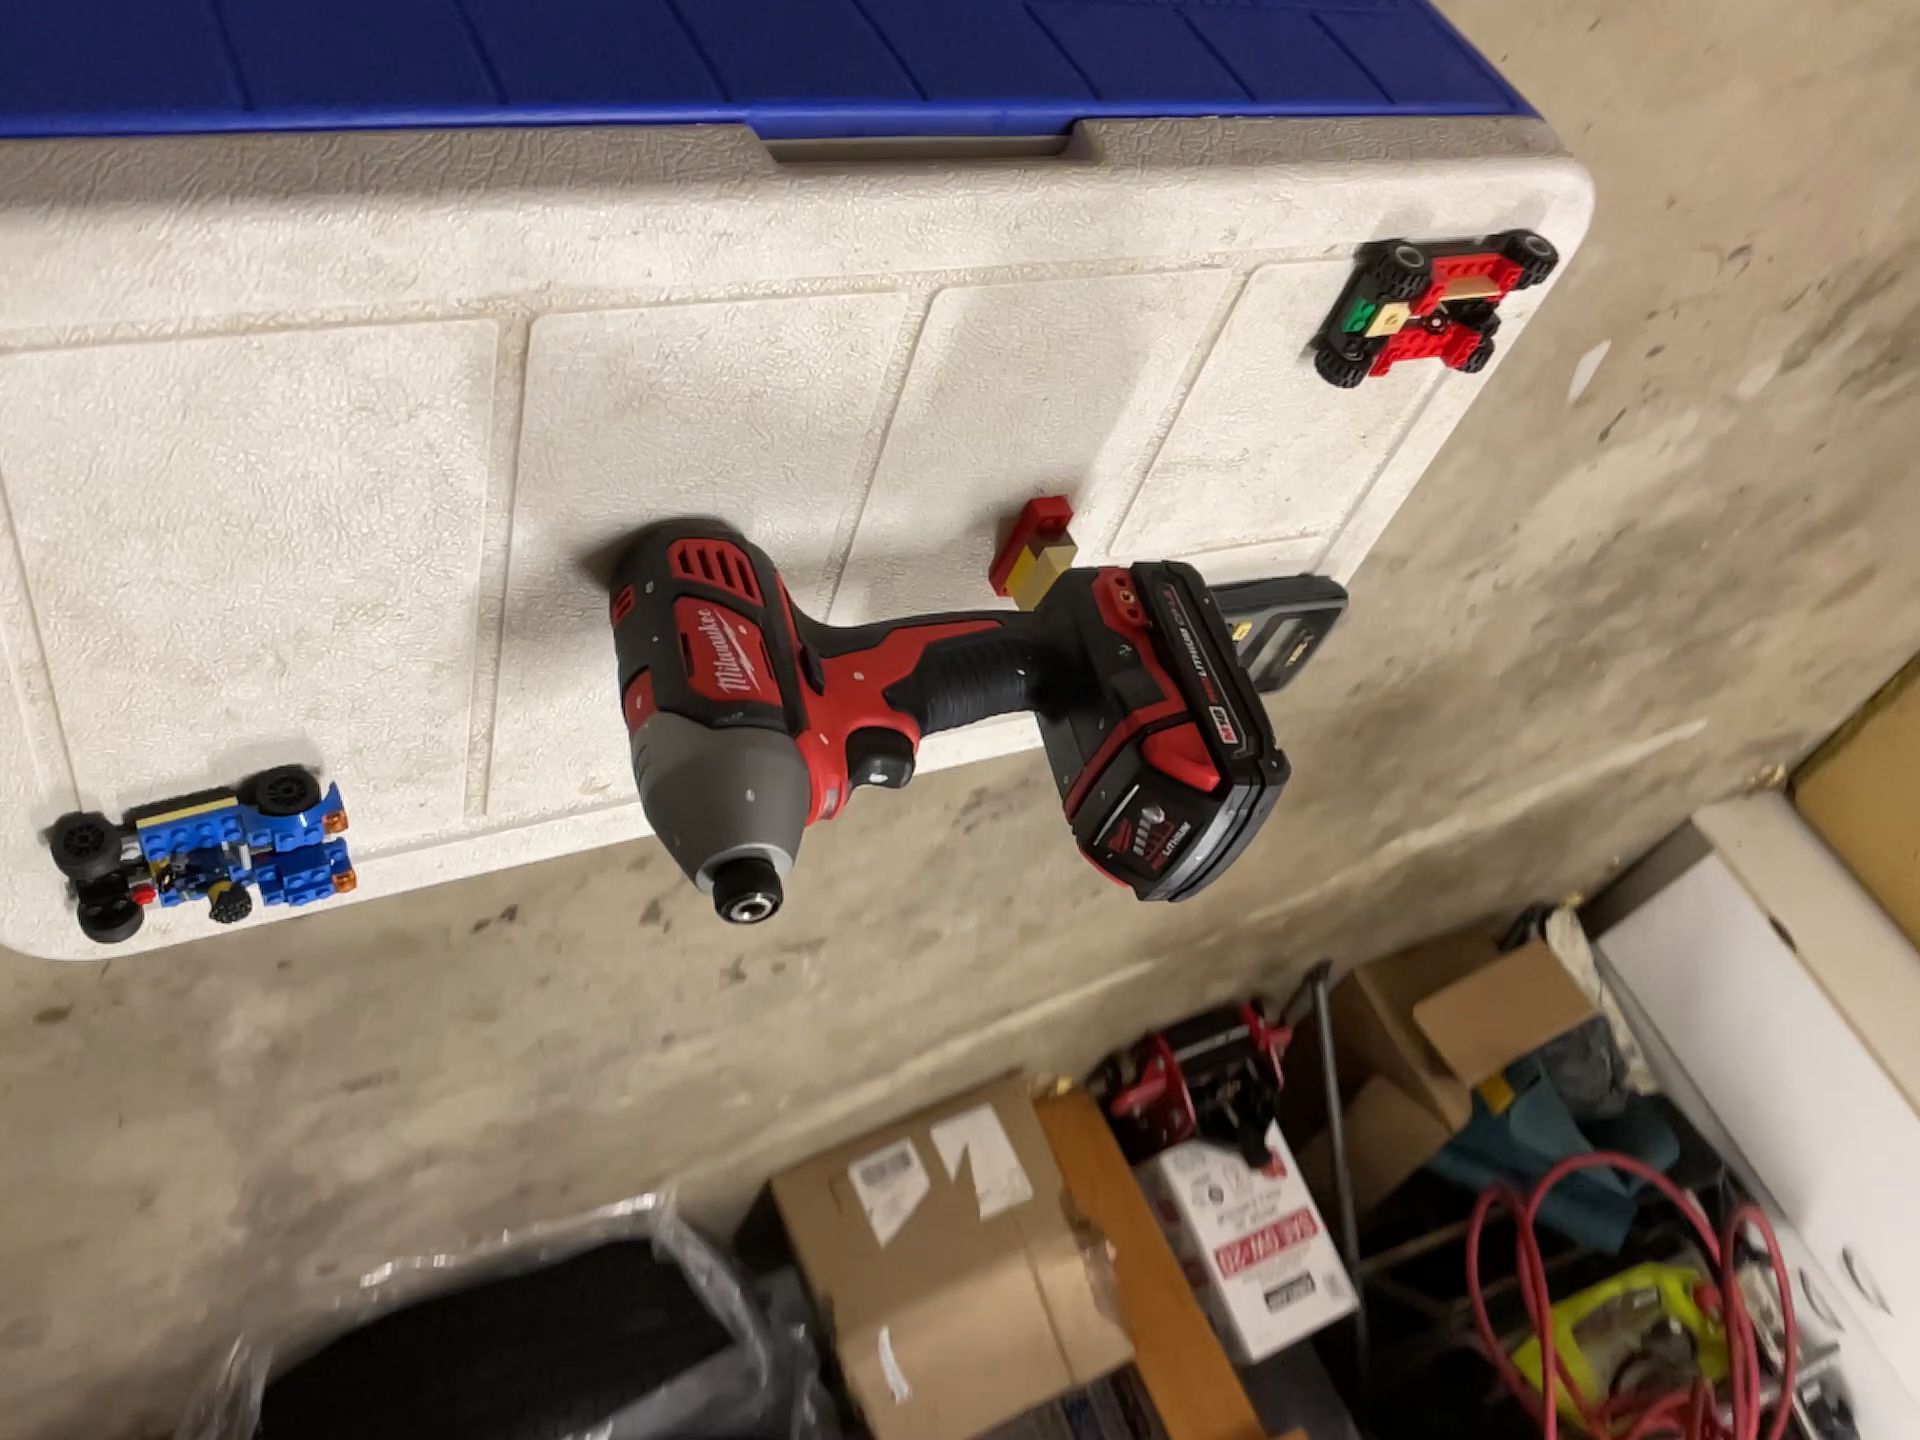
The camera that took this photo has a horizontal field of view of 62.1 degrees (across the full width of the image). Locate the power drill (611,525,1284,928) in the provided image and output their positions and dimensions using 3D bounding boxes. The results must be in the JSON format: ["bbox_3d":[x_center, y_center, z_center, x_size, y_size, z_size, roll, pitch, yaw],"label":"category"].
[{"bbox_3d":[-0.007,0.005,0.559,0.219,0.143,0.078,2,141,-24],"label":"power drill"}]
